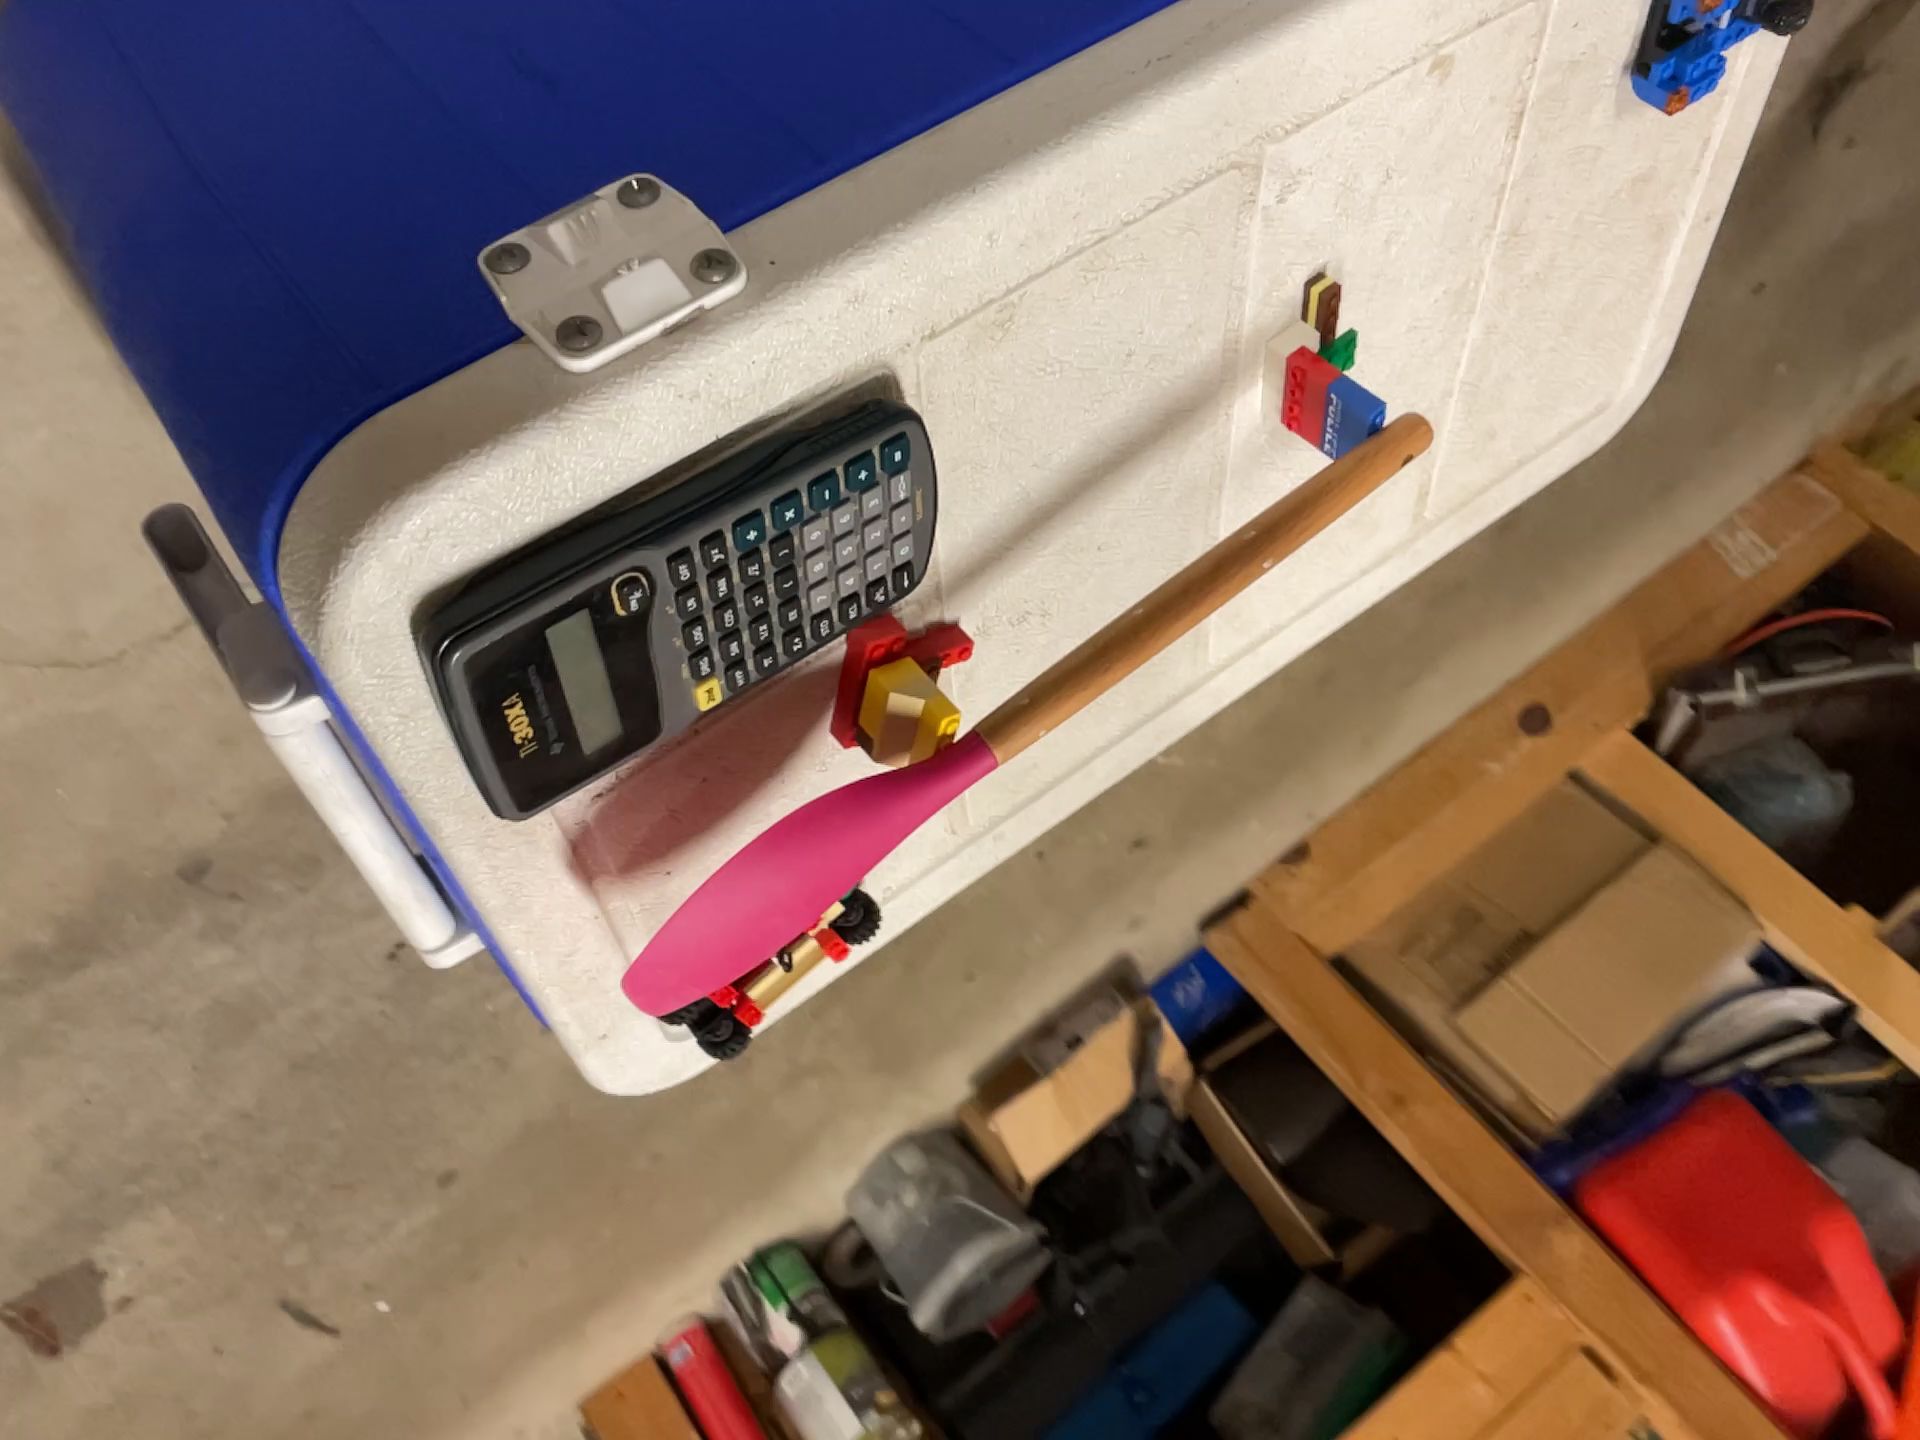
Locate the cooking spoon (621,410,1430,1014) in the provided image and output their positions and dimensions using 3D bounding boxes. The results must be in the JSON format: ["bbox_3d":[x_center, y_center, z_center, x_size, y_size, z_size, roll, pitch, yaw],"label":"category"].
[{"bbox_3d":[0.028,-0.007,0.511,0.319,0.017,0.068,-37,154,-10],"label":"cooking spoon"}]
